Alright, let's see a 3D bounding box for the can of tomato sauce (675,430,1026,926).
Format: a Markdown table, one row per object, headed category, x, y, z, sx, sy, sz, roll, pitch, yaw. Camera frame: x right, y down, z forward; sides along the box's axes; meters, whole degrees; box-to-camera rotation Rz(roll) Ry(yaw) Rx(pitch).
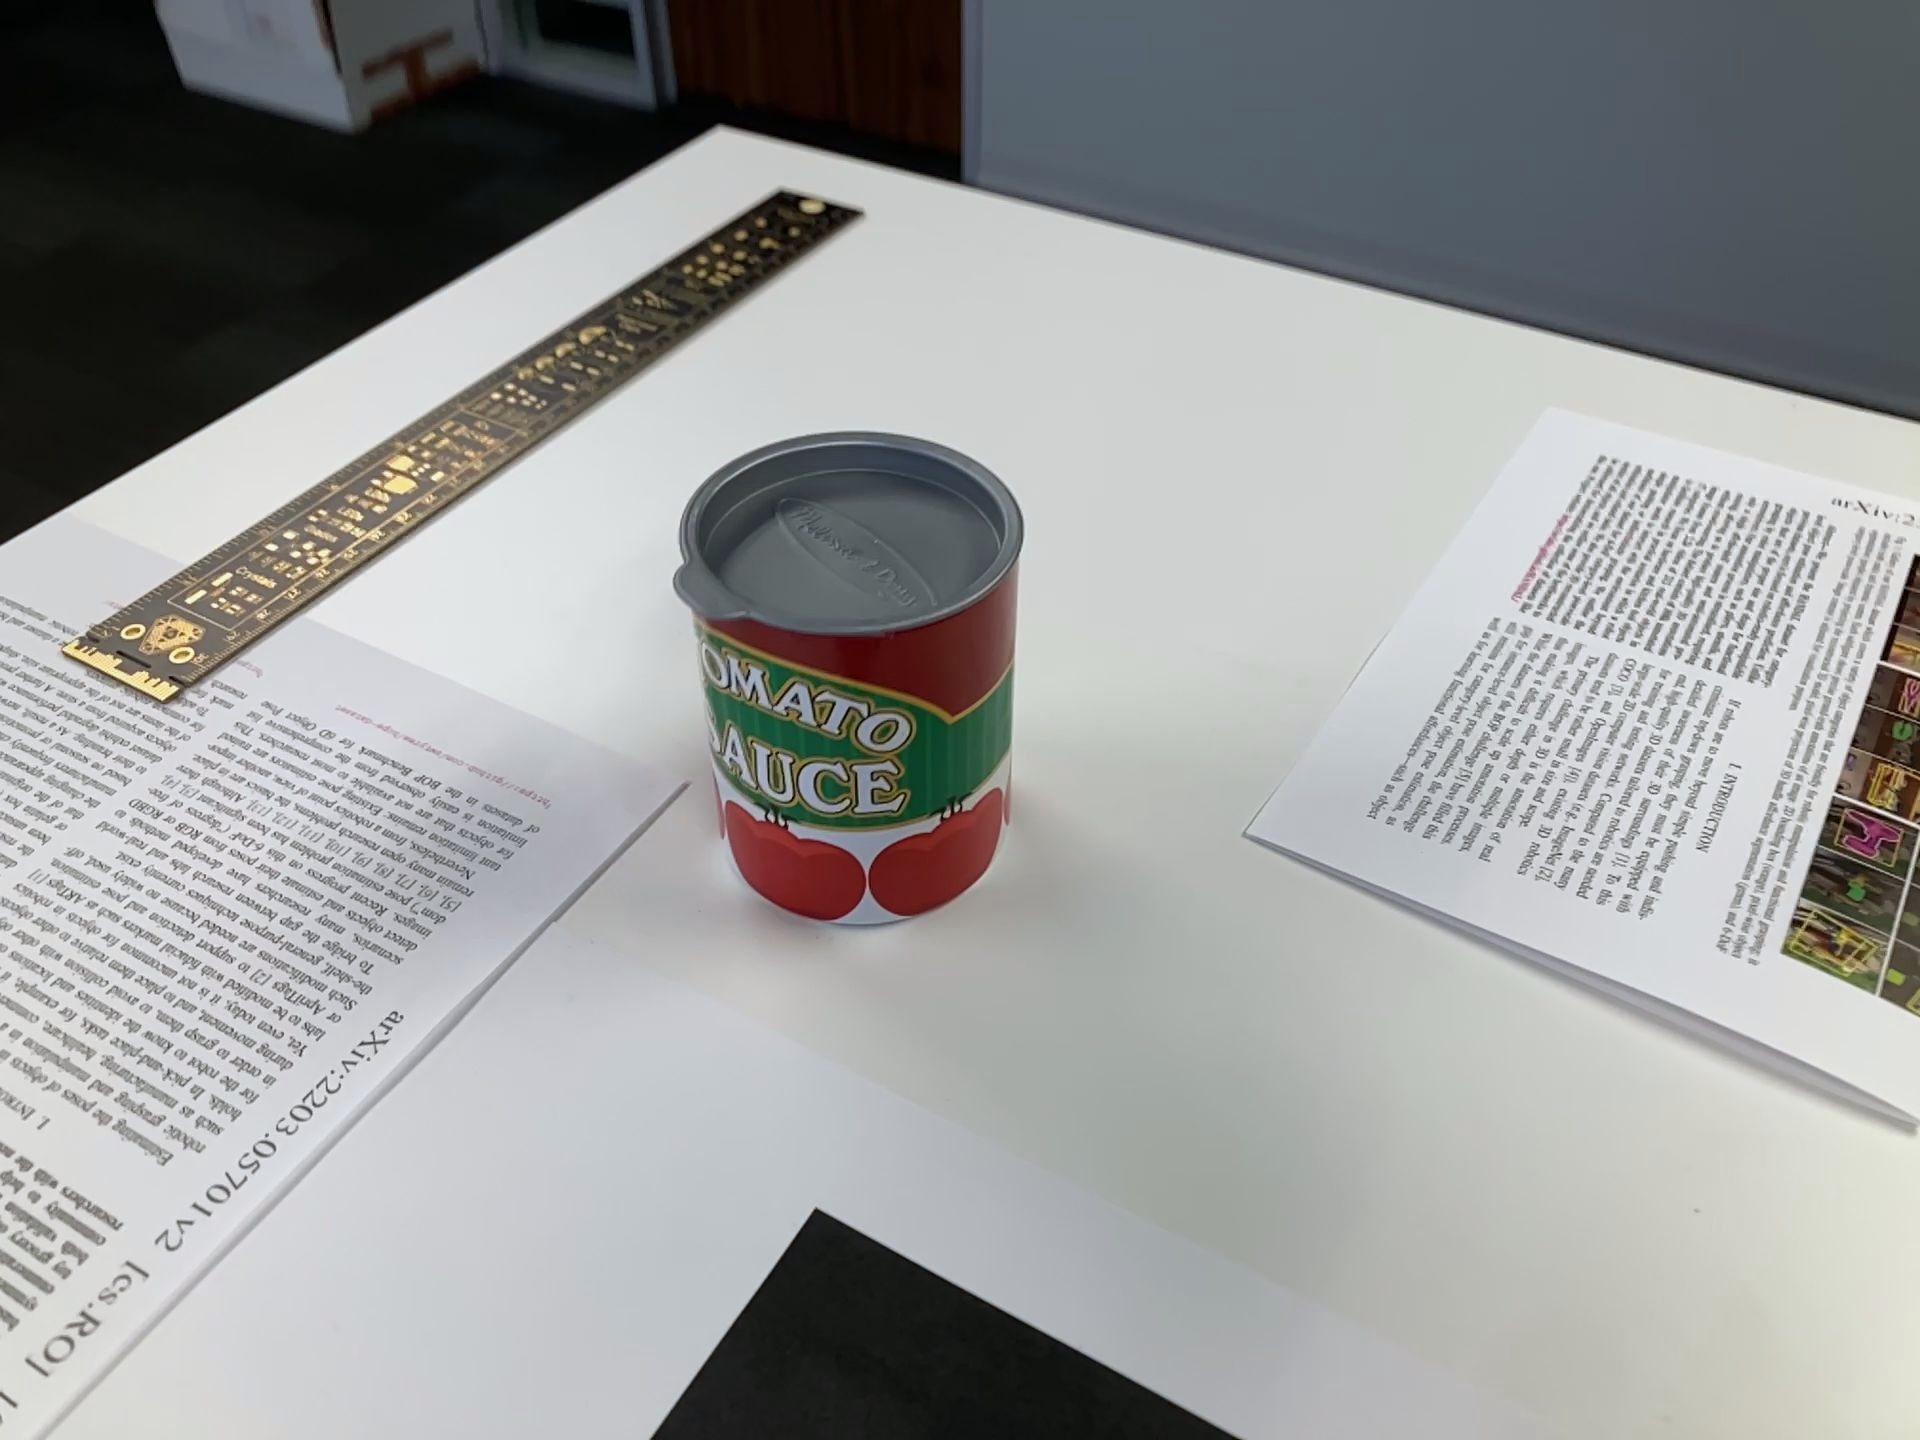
| category | x | y | z | sx | sy | sz | roll | pitch | yaw |
| --- | --- | --- | --- | --- | --- | --- | --- | --- | --- |
| can of tomato sauce | -0.022 | -0.007 | 0.332 | 0.071 | 0.083 | 0.071 | 0 | 42 | 0 |
